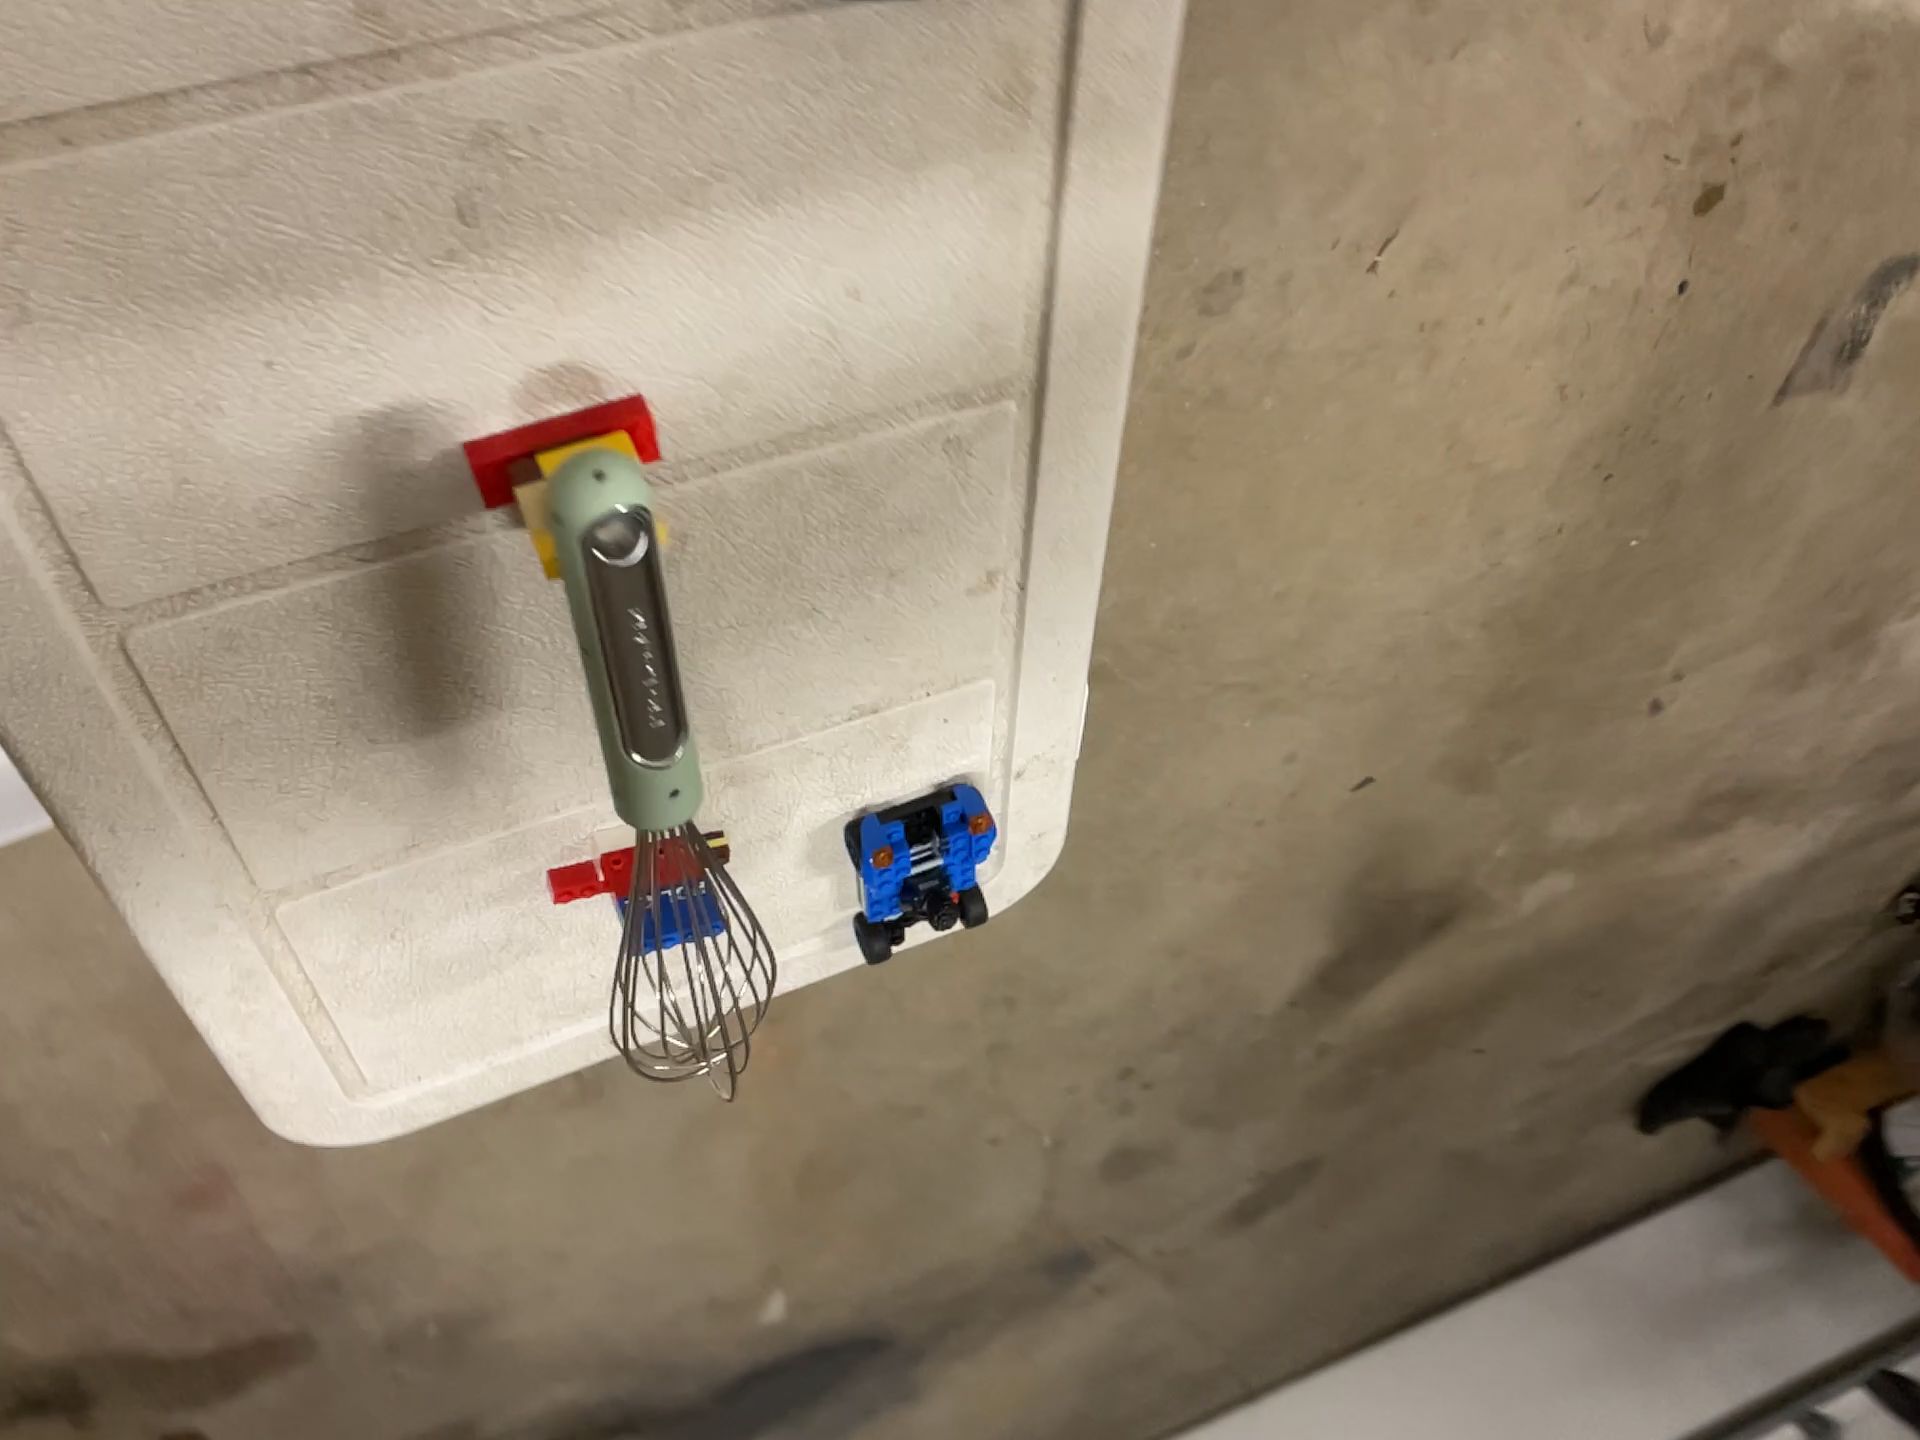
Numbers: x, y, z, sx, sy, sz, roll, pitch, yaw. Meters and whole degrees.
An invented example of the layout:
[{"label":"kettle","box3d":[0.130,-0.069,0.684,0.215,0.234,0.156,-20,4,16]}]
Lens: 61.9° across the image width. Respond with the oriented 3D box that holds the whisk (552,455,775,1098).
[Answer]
[{"label":"whisk","box3d":[-0.085,0.029,0.462,0.058,0.059,0.246,-23,138,-22]}]
